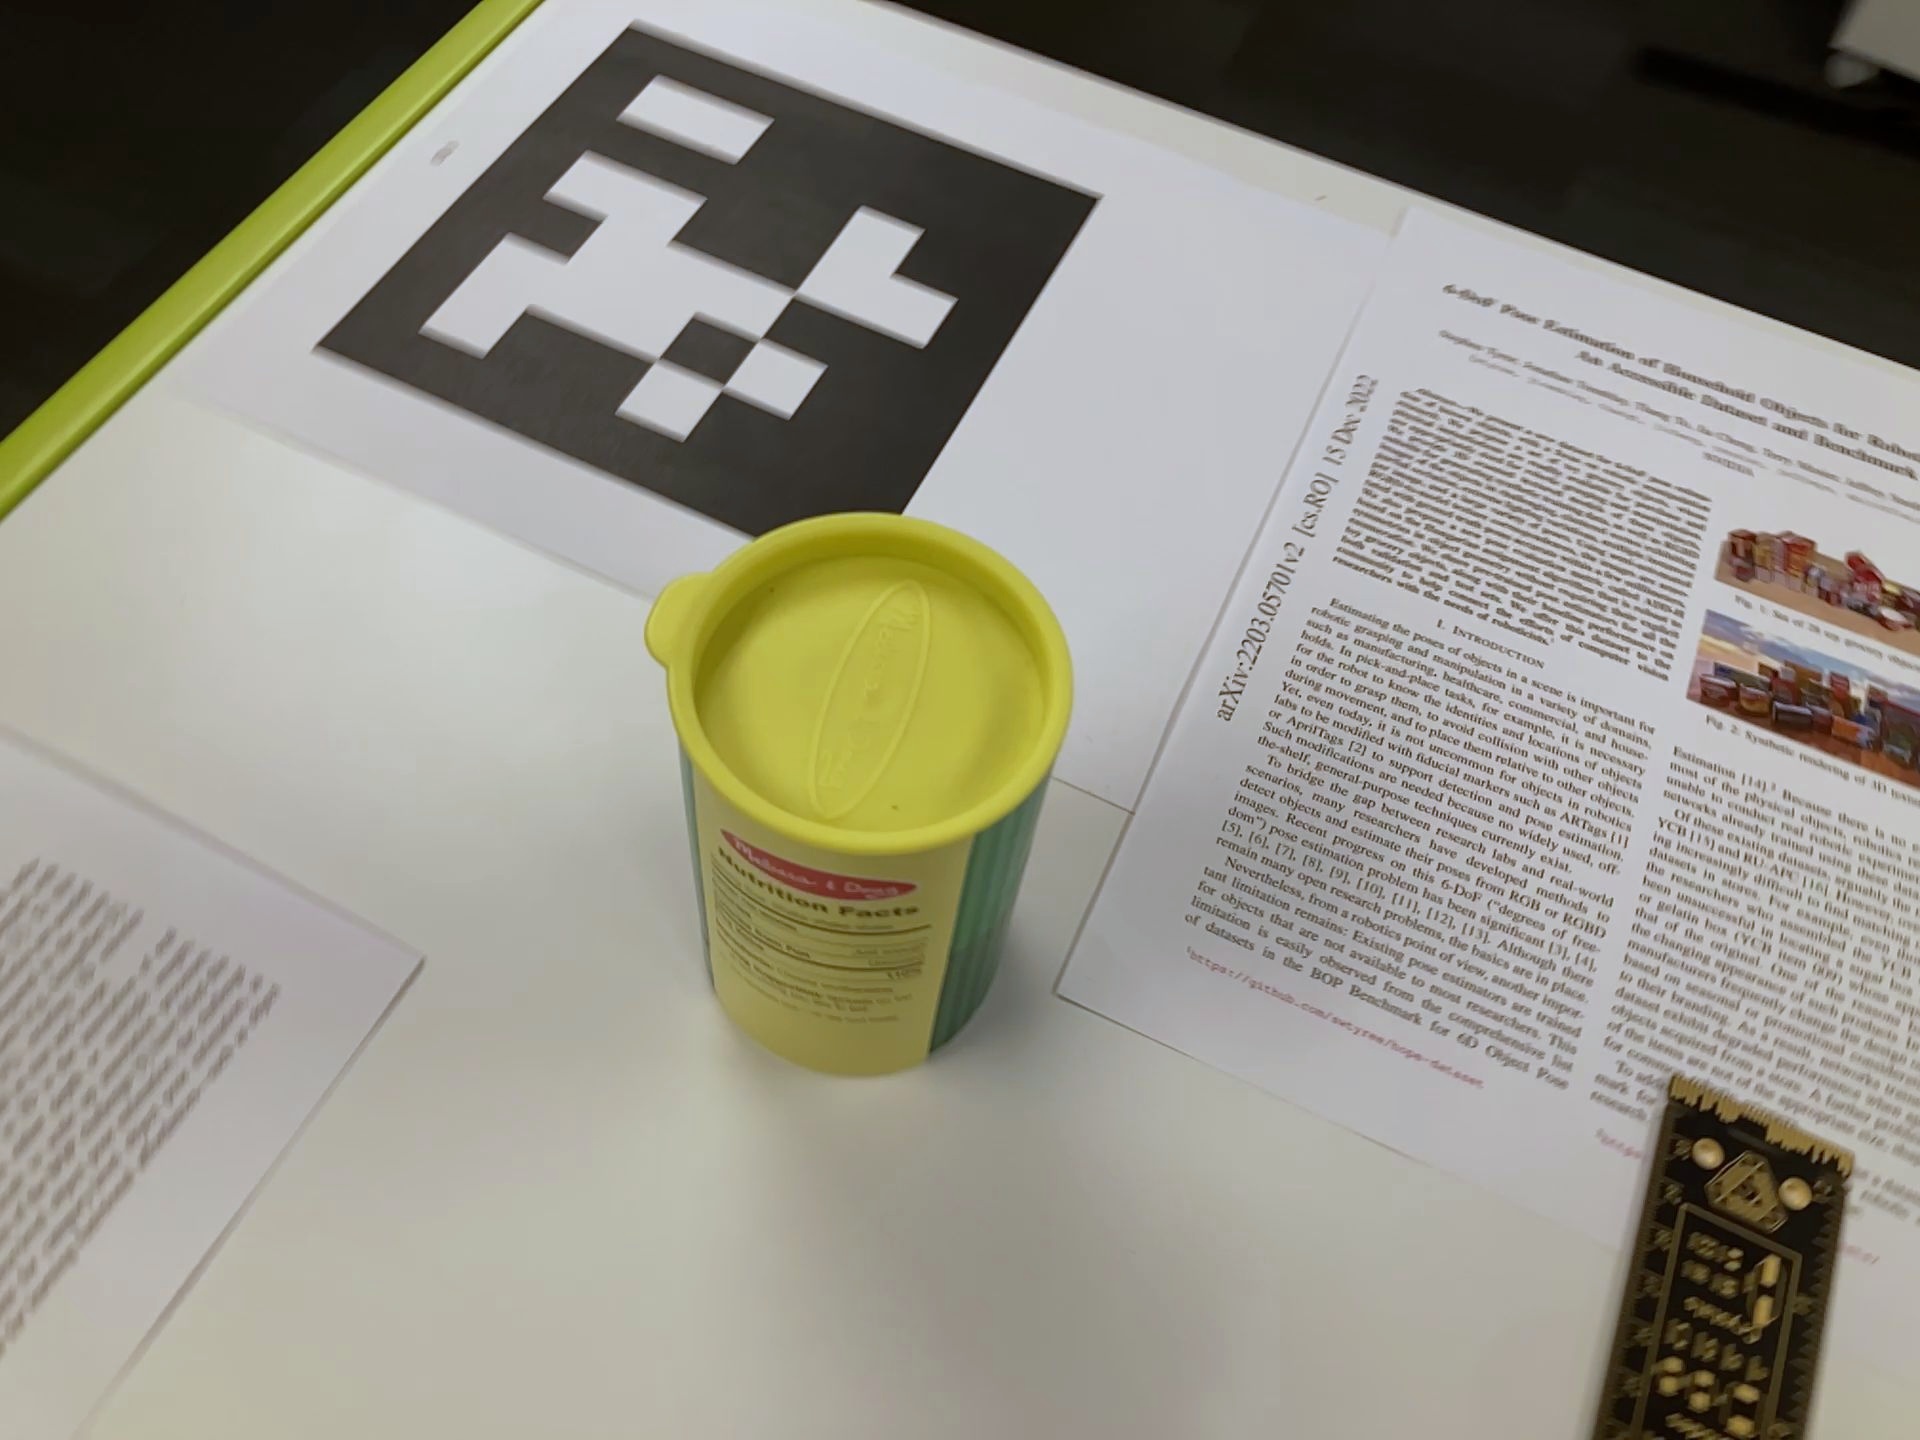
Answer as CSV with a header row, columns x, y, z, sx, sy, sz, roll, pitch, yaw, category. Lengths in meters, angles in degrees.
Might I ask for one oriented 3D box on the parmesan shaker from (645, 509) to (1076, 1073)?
x,y,z,sx,sy,sz,roll,pitch,yaw,category
-0.021,0.017,0.300,0.071,0.103,0.071,3,58,-4,parmesan shaker
